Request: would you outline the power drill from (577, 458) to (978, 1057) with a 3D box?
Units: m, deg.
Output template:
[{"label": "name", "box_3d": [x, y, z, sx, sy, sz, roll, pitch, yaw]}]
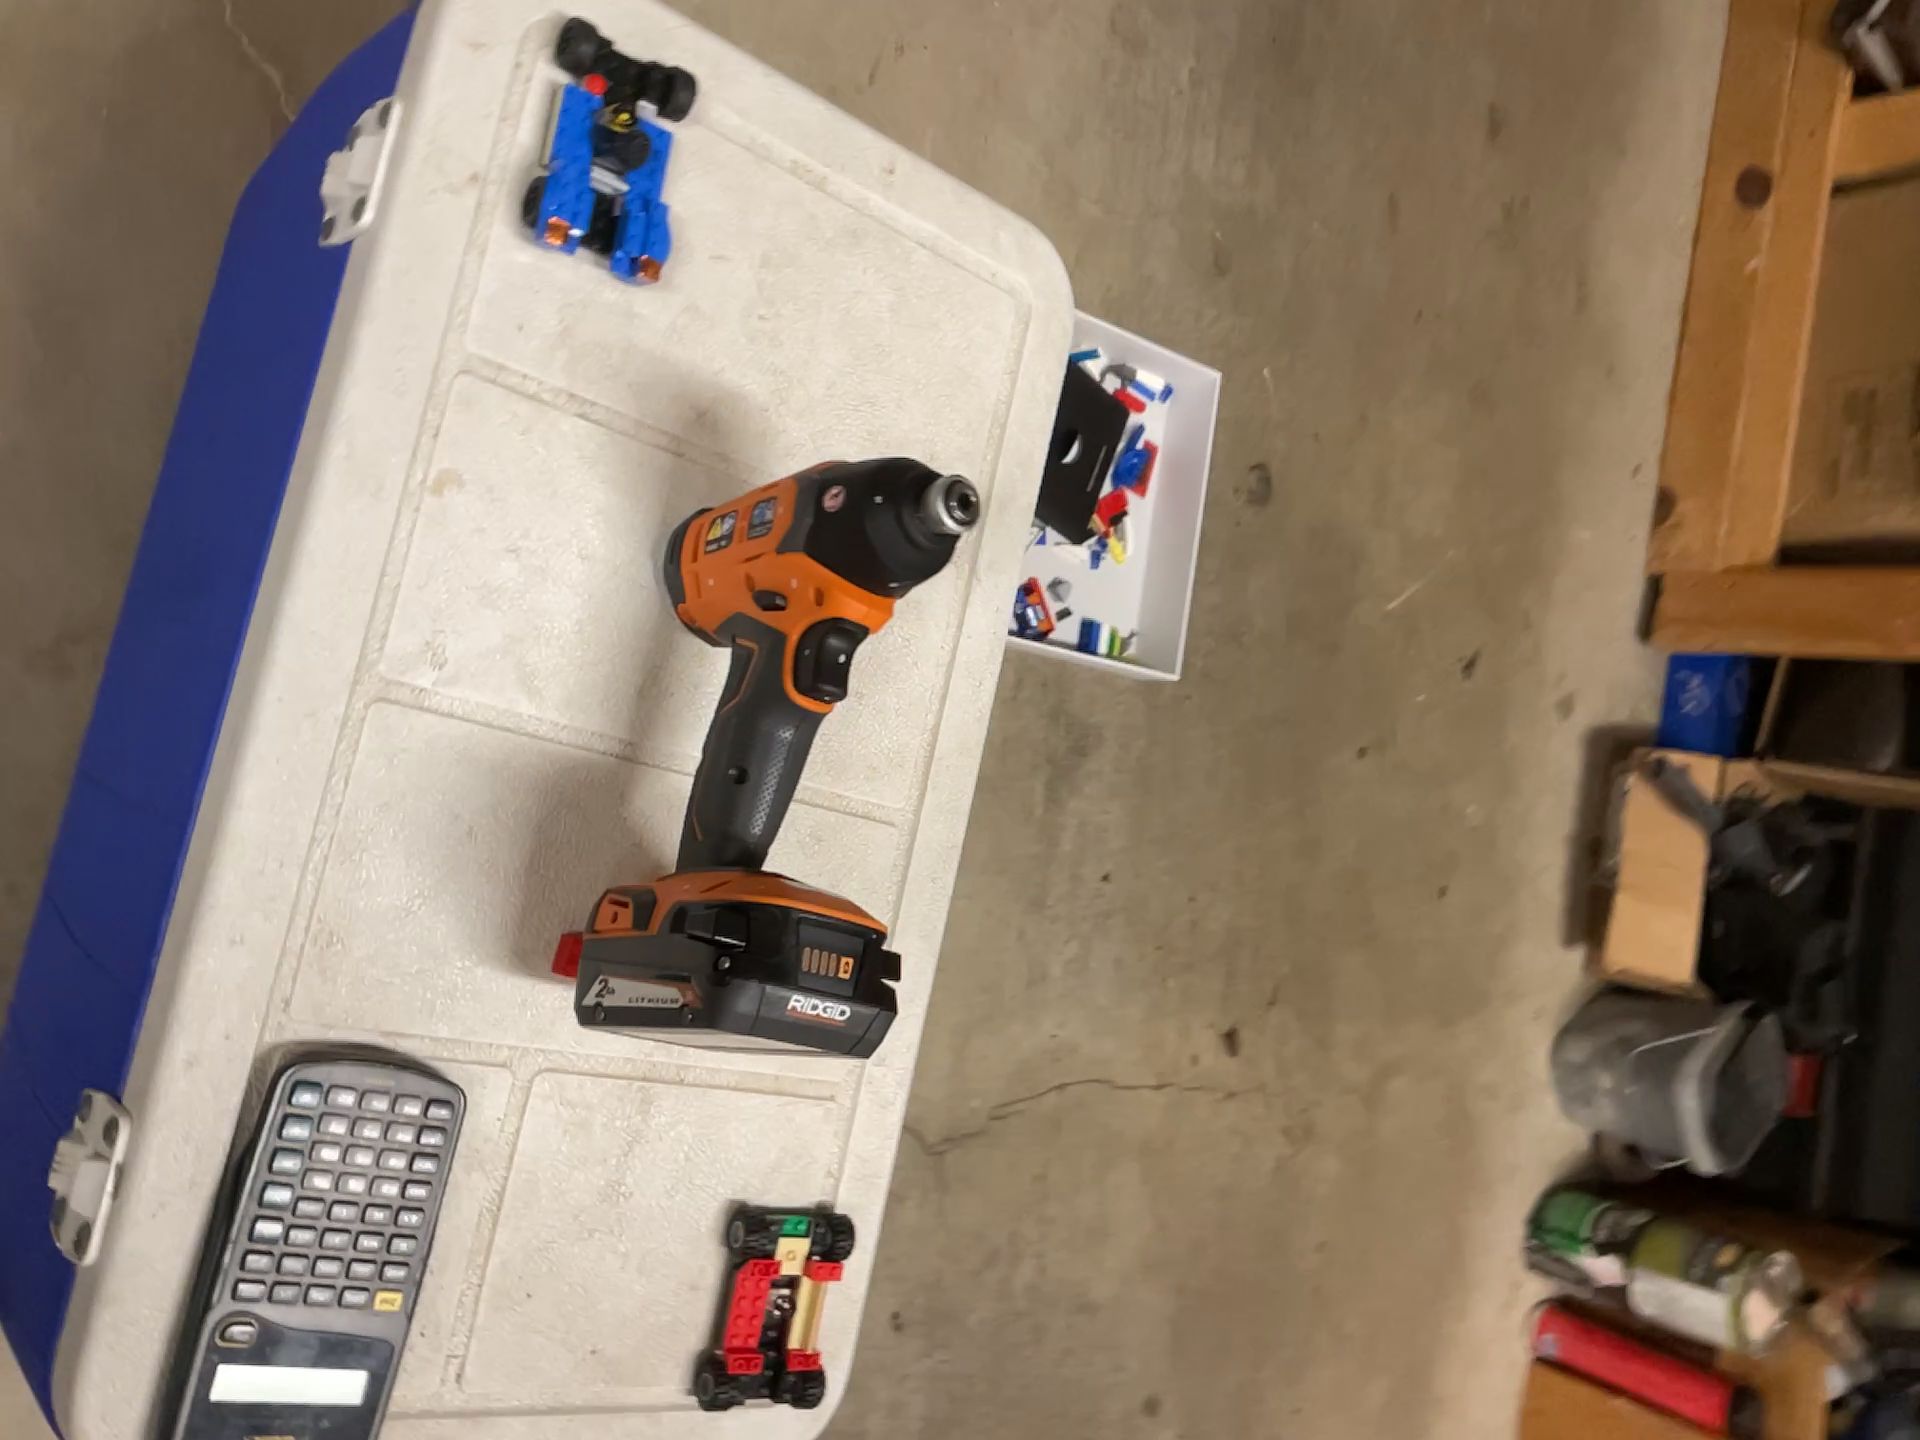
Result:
[{"label": "power drill", "box_3d": [-0.064, 0.008, 0.608, 0.084, 0.164, 0.226, 21, 69, -37]}]
